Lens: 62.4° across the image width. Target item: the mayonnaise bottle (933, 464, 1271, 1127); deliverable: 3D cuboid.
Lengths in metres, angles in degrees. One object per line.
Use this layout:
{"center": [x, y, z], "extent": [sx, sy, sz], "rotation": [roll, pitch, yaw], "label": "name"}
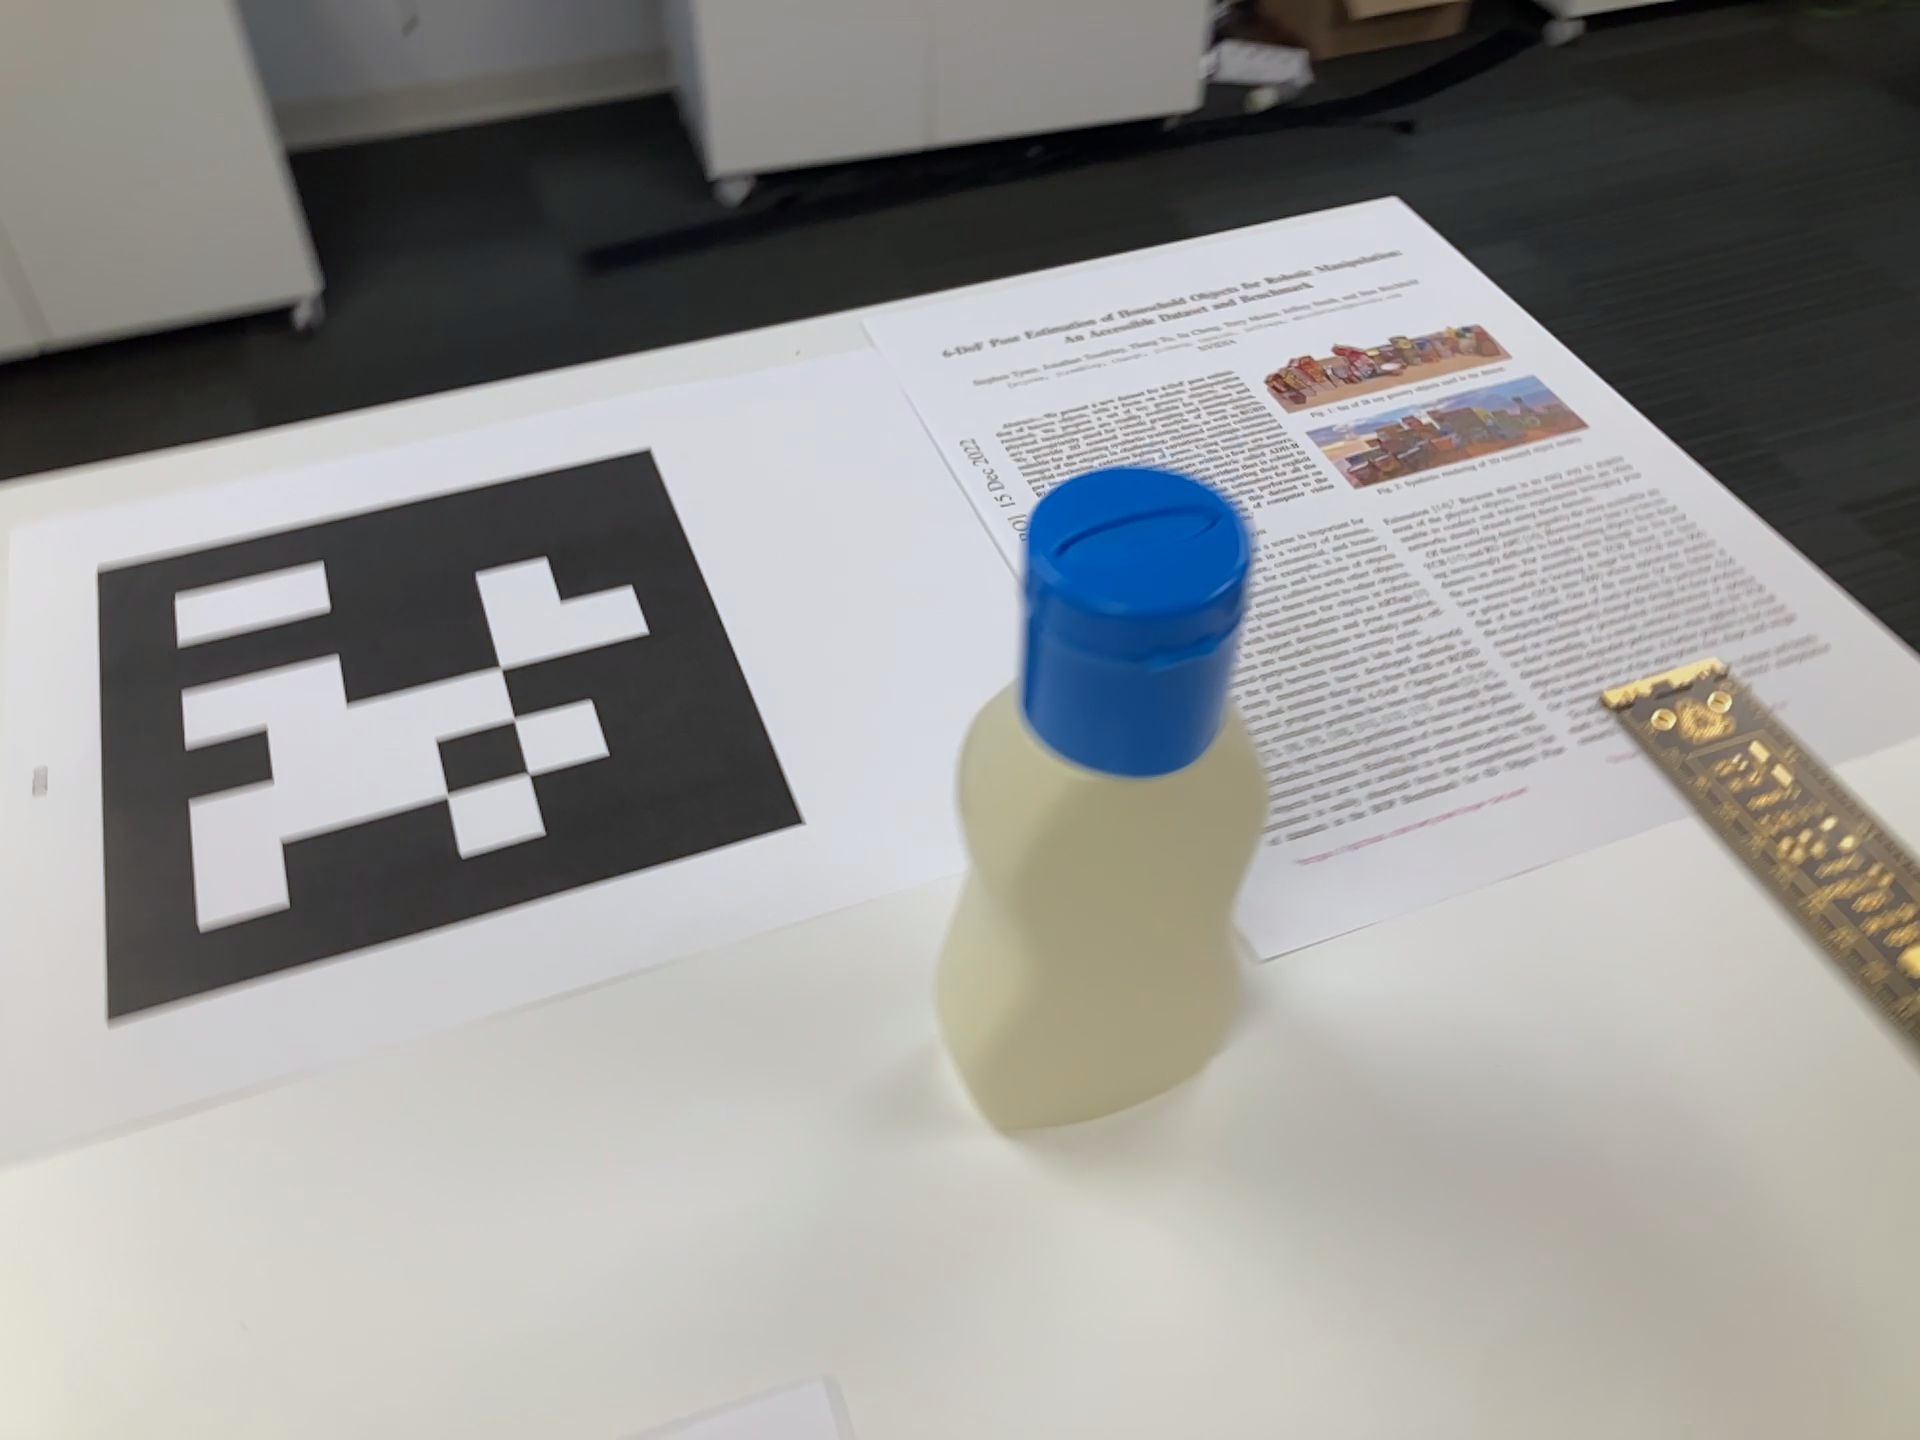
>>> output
{"center": [0.027, 0.021, 0.299], "extent": [0.065, 0.148, 0.041], "rotation": [-15, 49, -15], "label": "mayonnaise bottle"}
